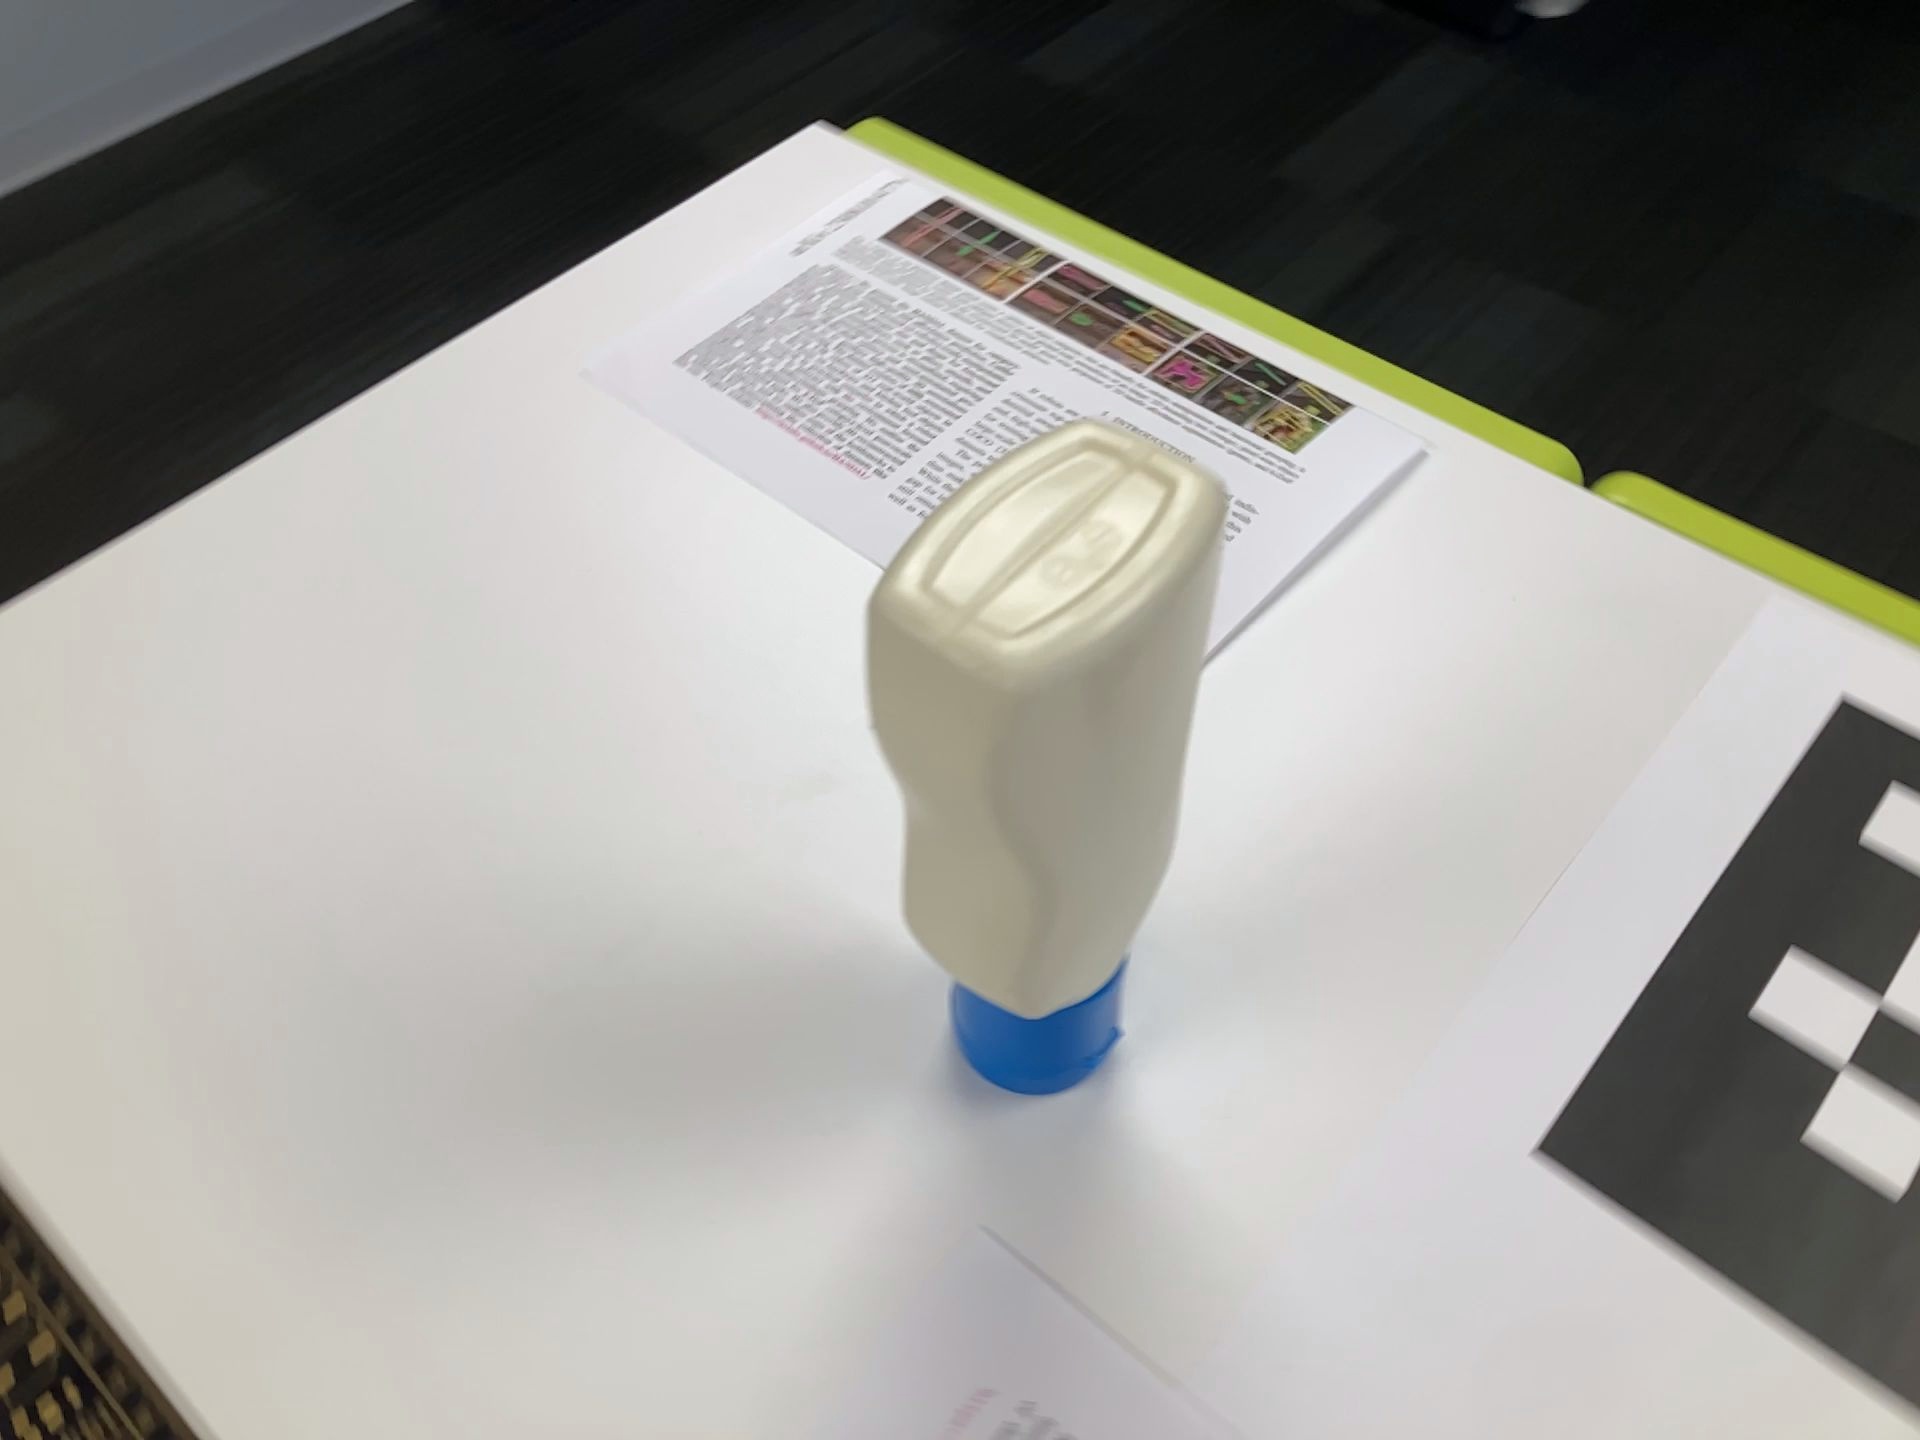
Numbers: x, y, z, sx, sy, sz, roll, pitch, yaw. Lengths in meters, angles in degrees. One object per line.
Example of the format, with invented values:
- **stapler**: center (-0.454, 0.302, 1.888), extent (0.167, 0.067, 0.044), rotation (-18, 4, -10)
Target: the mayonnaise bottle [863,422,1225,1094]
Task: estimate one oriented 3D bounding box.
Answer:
- **mayonnaise bottle**: center (0.015, 0.020, 0.294), extent (0.041, 0.148, 0.065), rotation (32, 58, 25)
